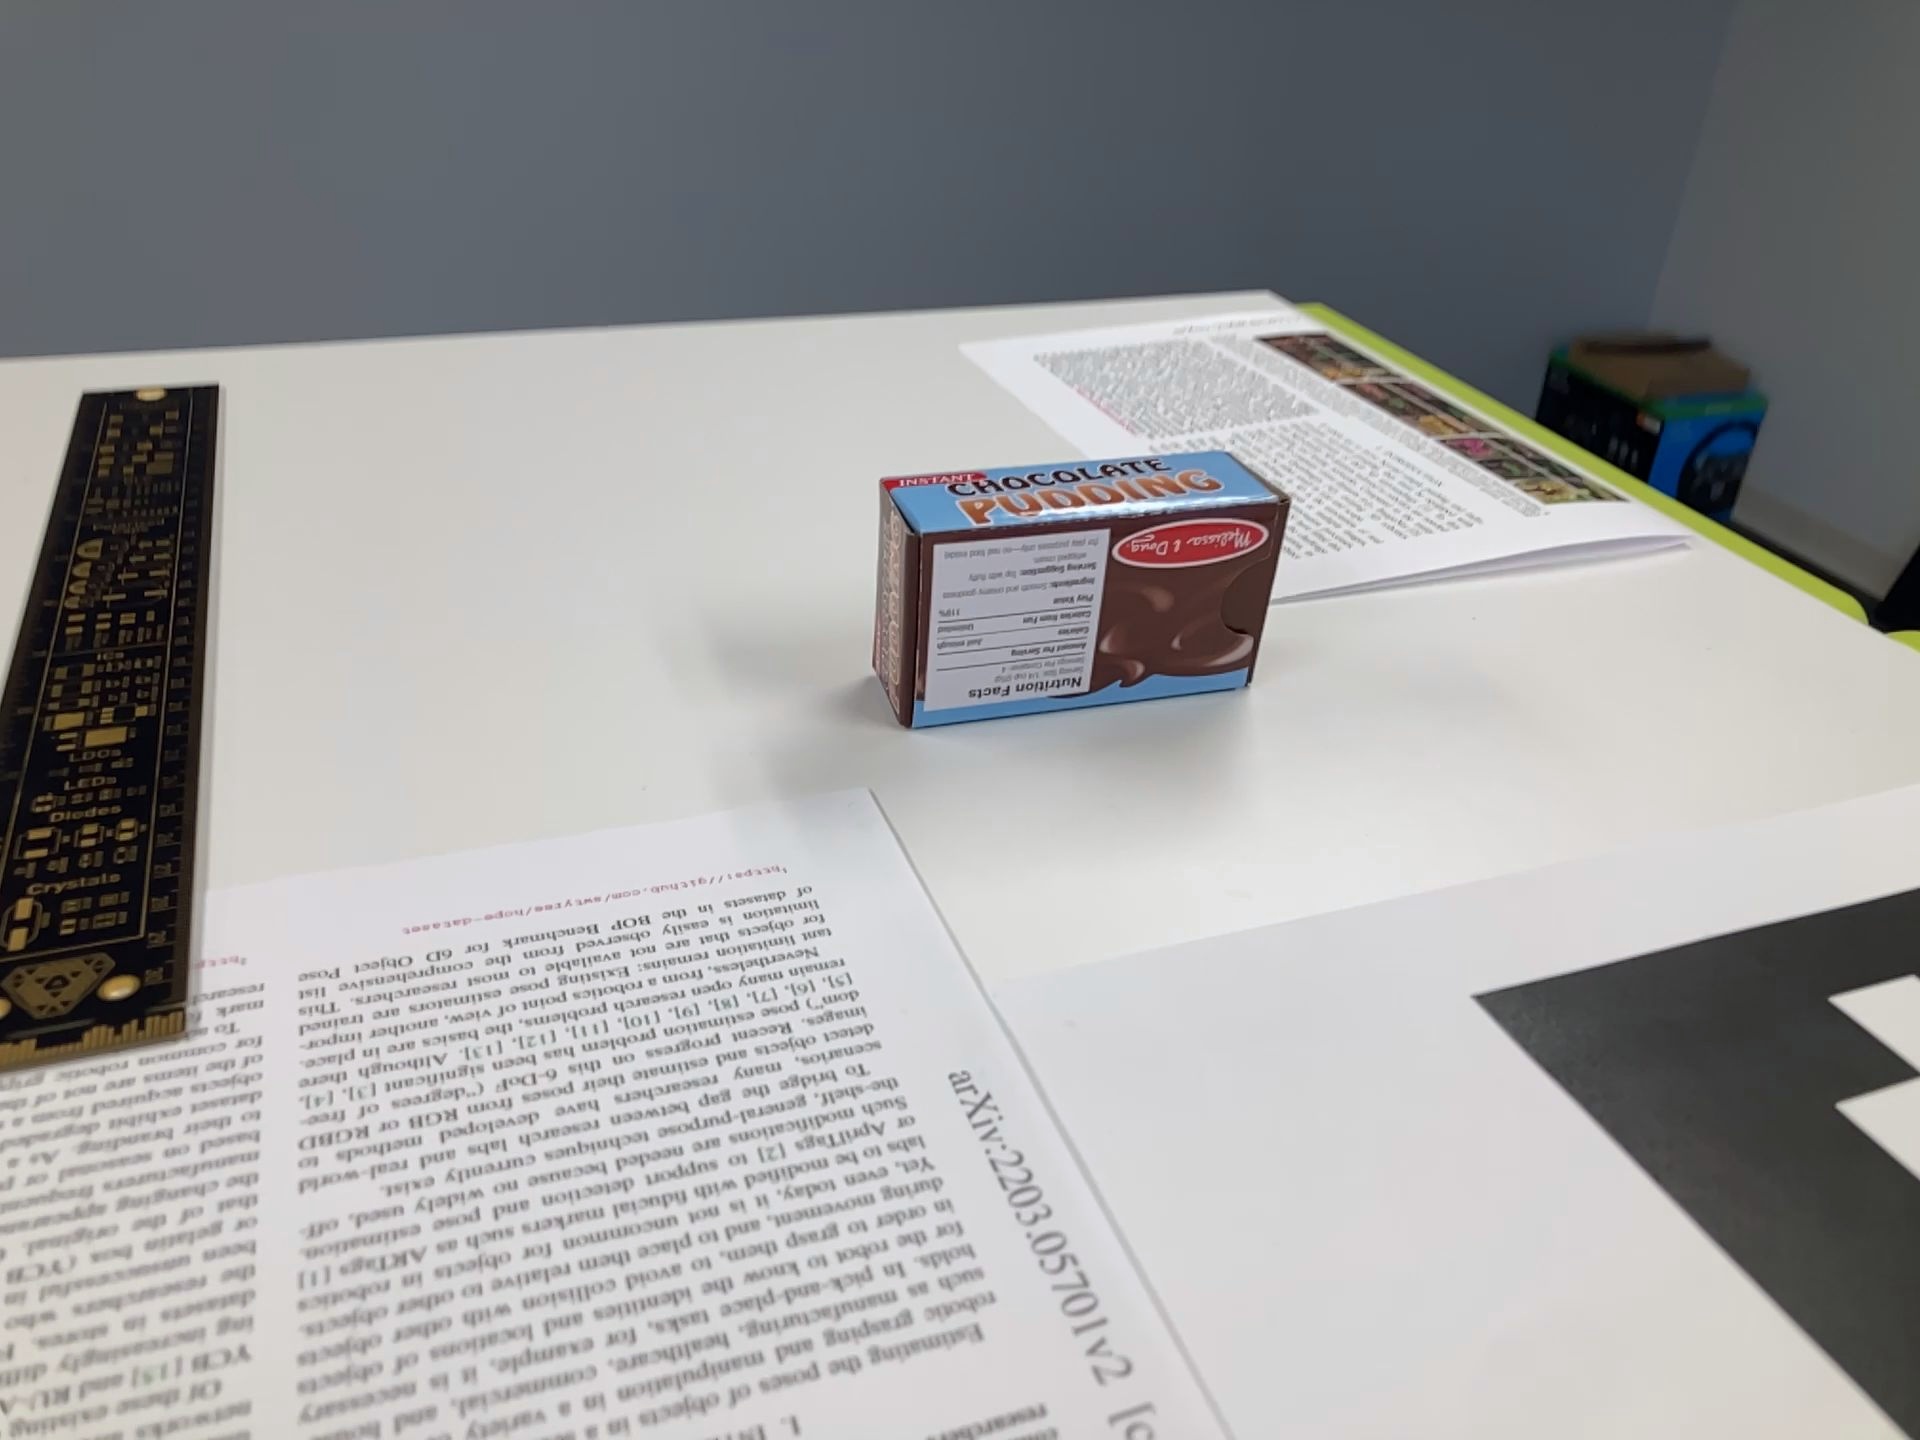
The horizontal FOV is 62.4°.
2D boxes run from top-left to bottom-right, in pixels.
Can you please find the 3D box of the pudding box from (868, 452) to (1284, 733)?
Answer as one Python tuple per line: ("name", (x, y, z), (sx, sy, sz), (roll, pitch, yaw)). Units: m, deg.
("pudding box", (0.024, -0.028, 0.347), (0.083, 0.049, 0.030), (-8, 34, -17))
